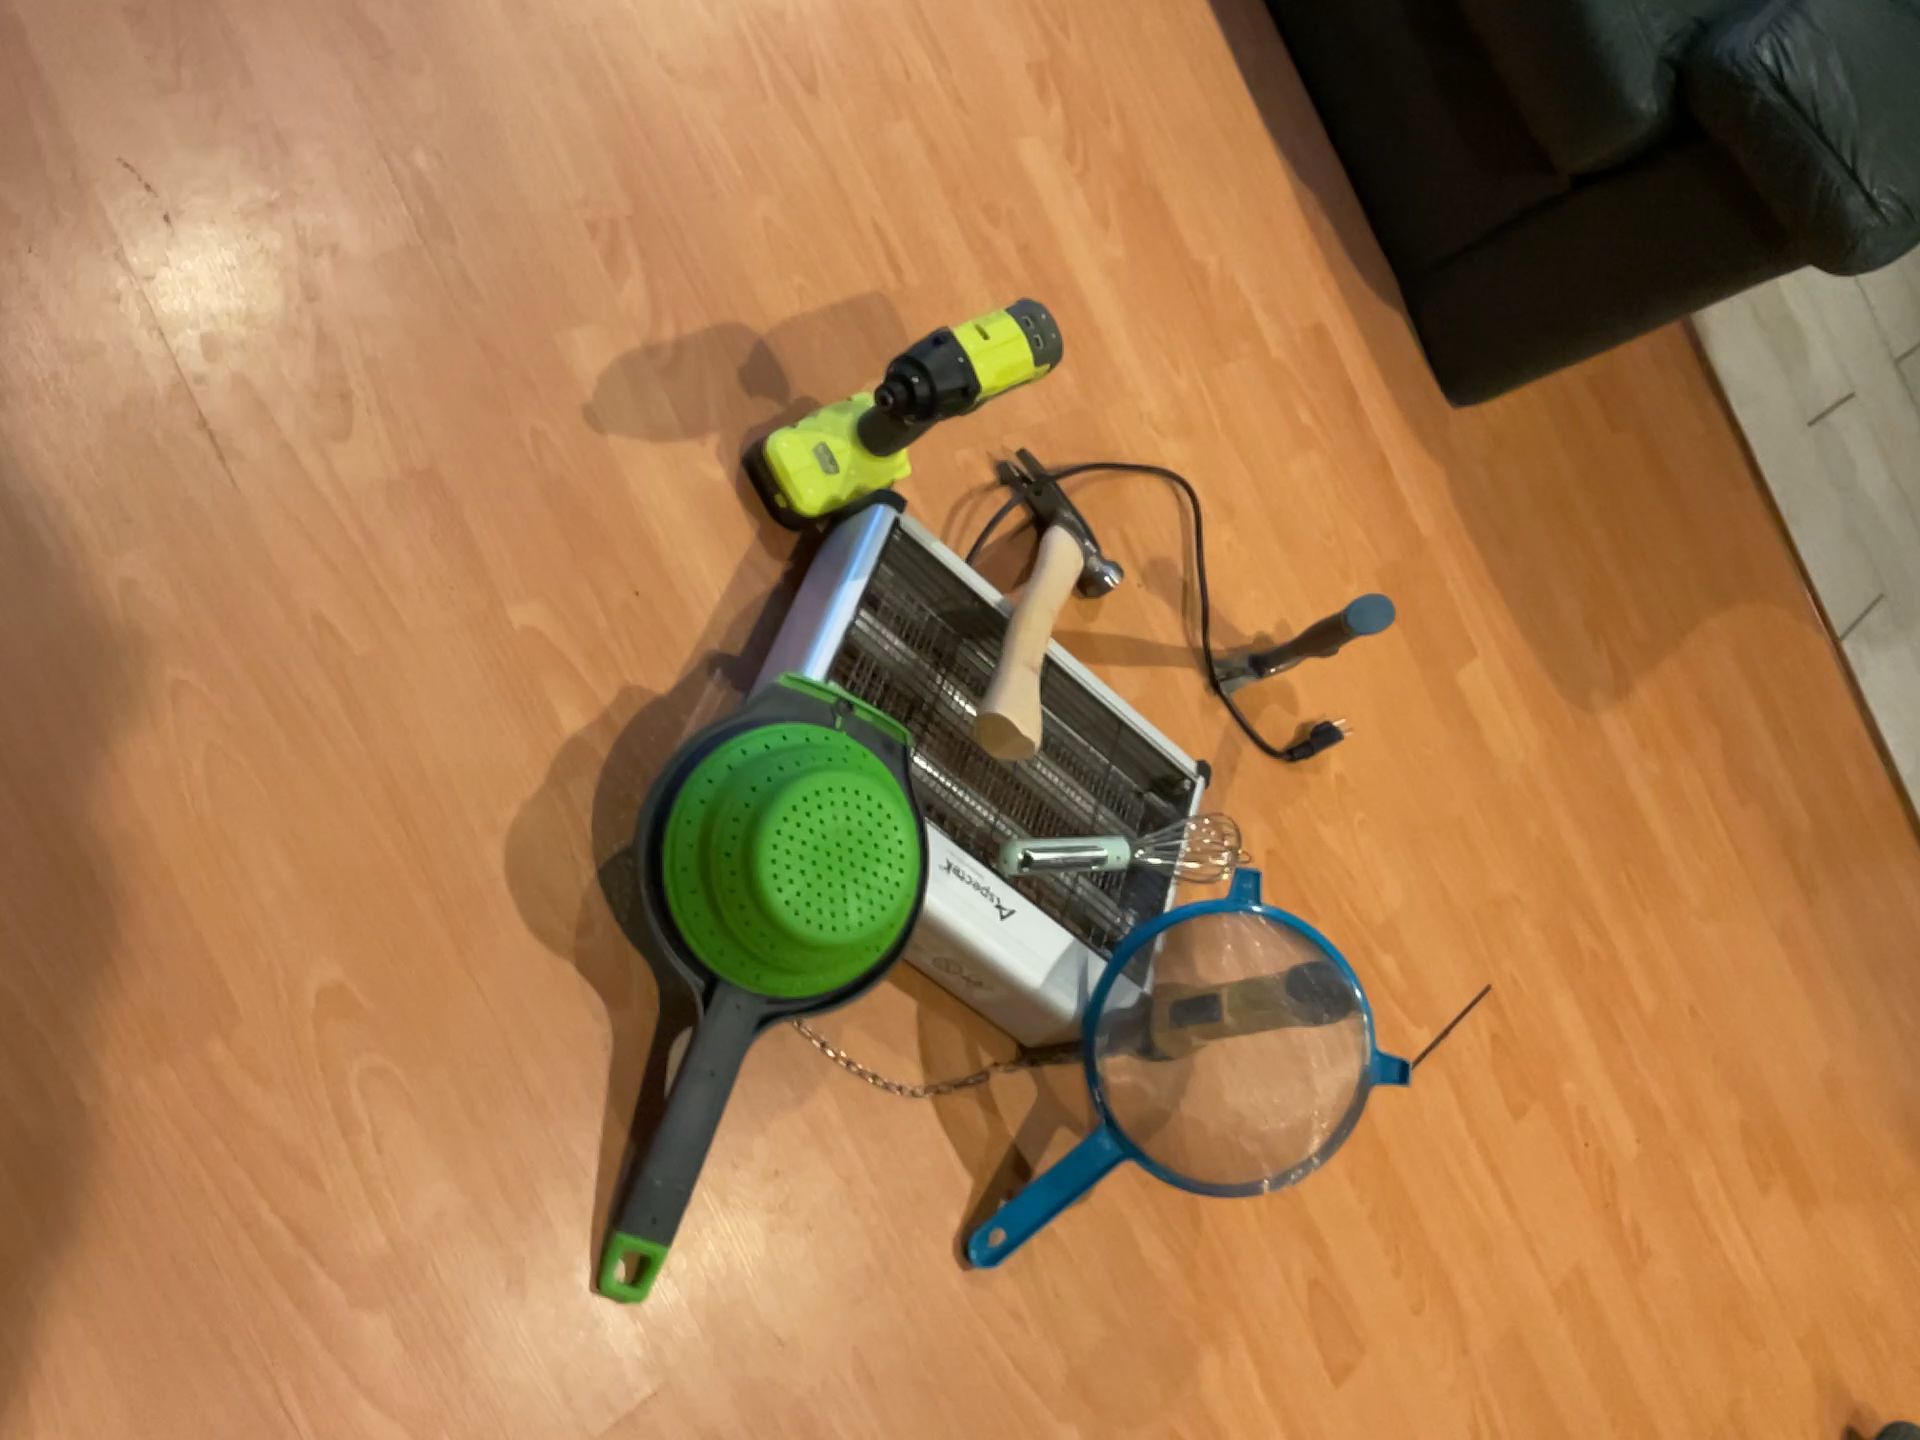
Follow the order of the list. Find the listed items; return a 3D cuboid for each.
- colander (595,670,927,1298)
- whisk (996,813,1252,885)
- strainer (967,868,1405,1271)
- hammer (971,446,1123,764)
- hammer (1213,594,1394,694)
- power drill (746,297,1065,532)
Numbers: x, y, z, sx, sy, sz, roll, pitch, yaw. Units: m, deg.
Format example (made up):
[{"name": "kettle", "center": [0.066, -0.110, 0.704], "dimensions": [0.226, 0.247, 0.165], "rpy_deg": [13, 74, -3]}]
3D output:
[{"name": "colander", "center": [-0.122, 0.160, 0.980], "dimensions": [0.204, 0.094, 0.397], "rpy_deg": [27, 74, -23]}, {"name": "whisk", "center": [0.126, 0.100, 1.205], "dimensions": [0.246, 0.059, 0.057], "rpy_deg": [2, 102, -38]}, {"name": "strainer", "center": [0.144, 0.272, 1.110], "dimensions": [0.340, 0.095, 0.211], "rpy_deg": [-38, 89, -7]}, {"name": "hammer", "center": [0.052, -0.088, 1.223], "dimensions": [0.146, 0.038, 0.411], "rpy_deg": [51, 24, -15]}, {"name": "hammer", "center": [0.302, -0.068, 1.371], "dimensions": [0.128, 0.331, 0.033], "rpy_deg": [-20, 87, -4]}, {"name": "power drill", "center": [-0.050, -0.220, 1.161], "dimensions": [0.171, 0.223, 0.080], "rpy_deg": [-33, 96, -43]}]
